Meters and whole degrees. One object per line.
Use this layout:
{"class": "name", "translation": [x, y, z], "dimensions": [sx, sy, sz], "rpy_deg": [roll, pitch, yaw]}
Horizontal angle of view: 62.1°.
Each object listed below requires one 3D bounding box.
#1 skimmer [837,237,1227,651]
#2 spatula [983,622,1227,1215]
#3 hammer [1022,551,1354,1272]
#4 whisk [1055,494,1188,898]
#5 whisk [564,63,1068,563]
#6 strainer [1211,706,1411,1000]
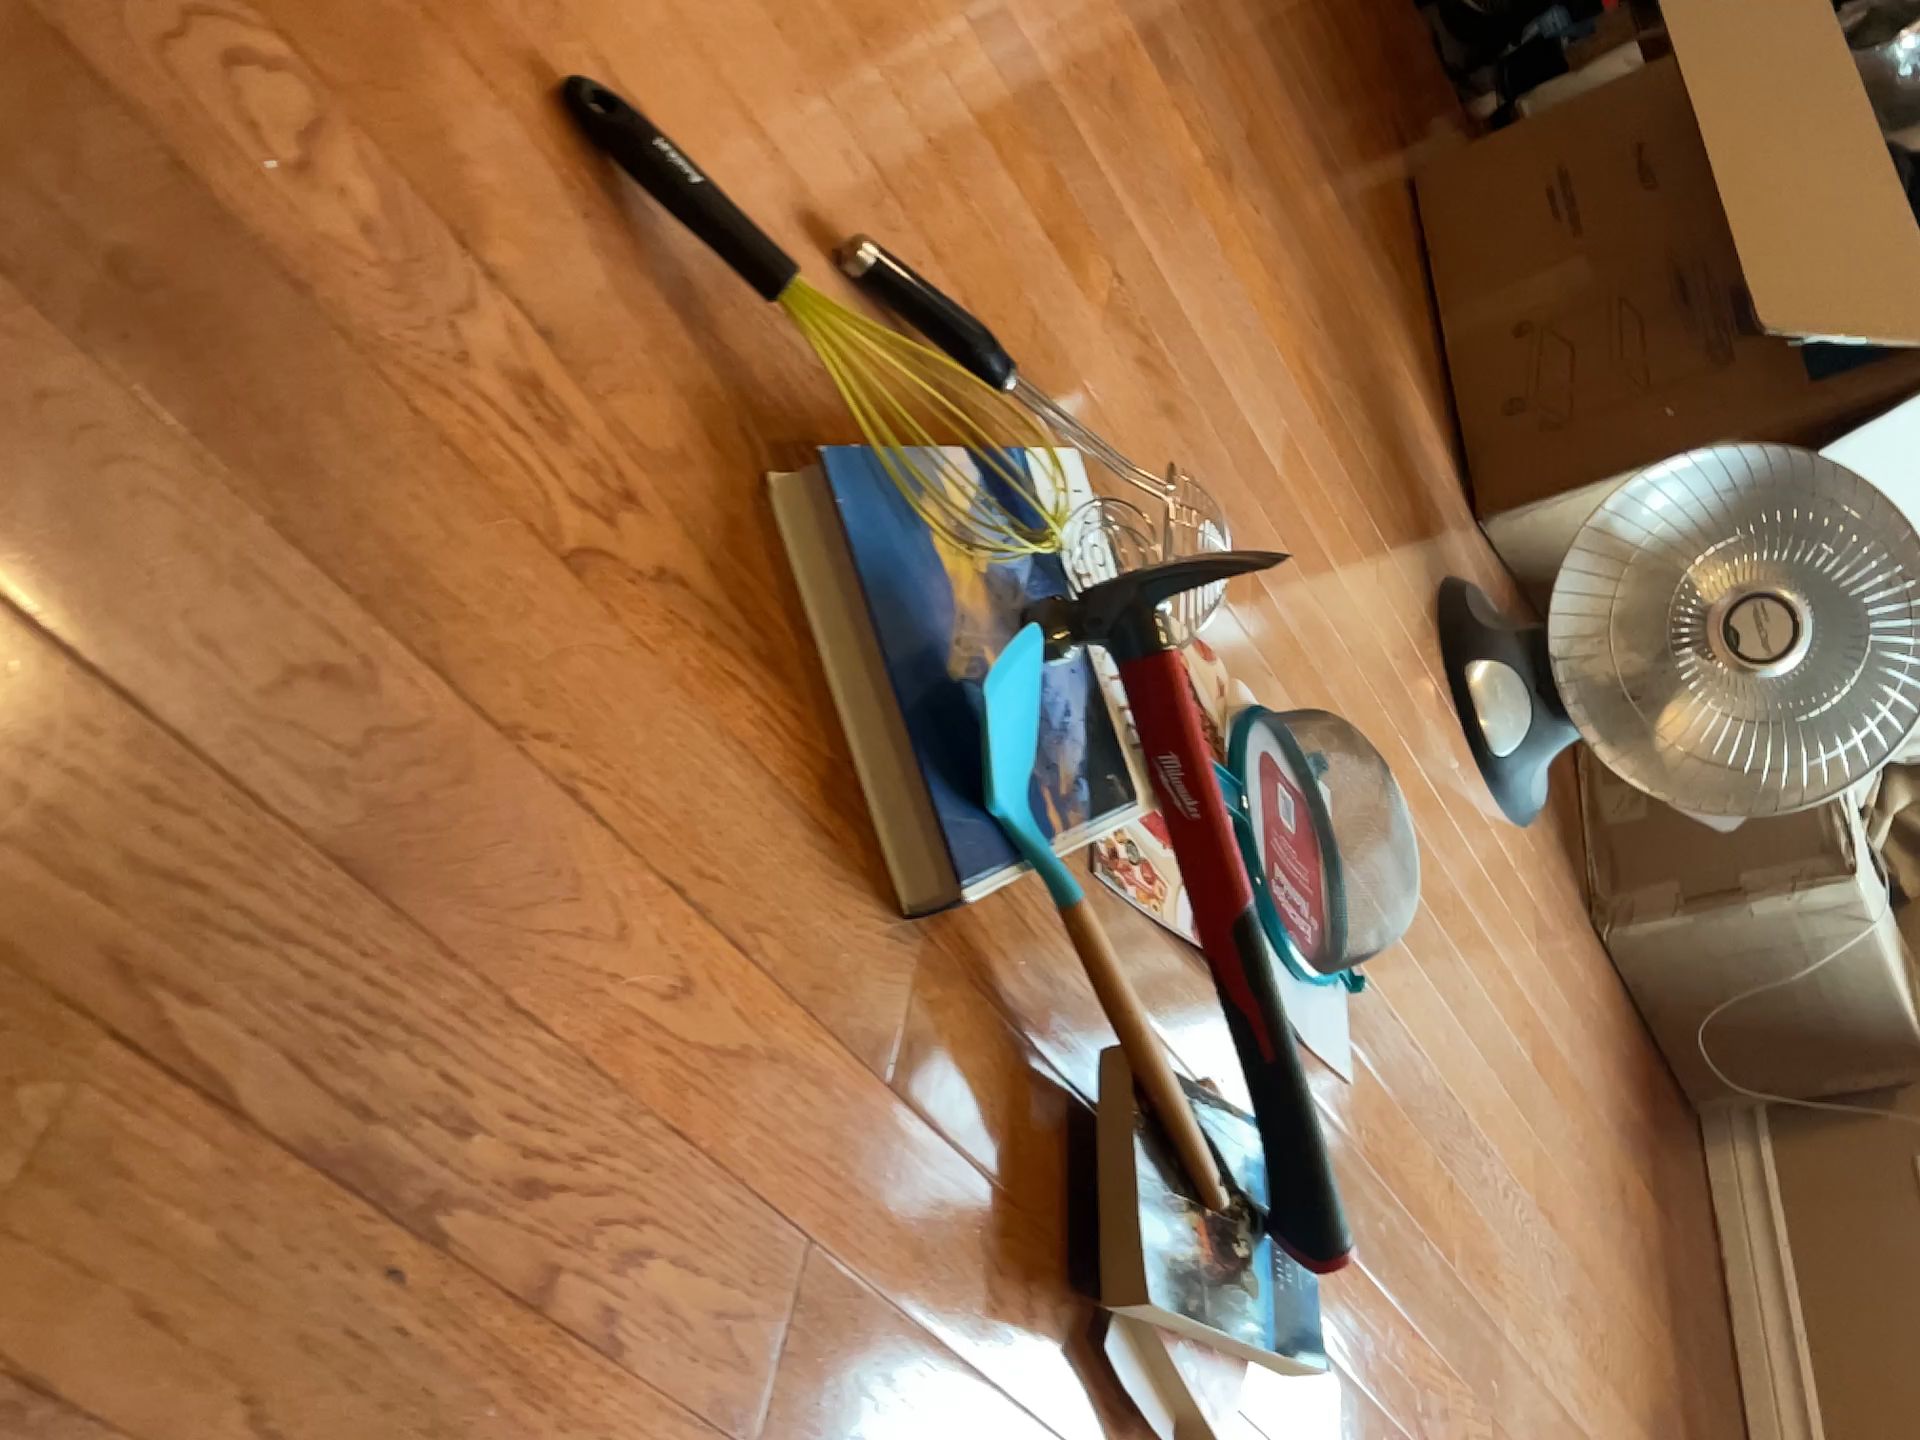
{"class": "skimmer", "translation": [0.047, -0.162, 0.973], "dimensions": [0.363, 0.090, 0.128], "rpy_deg": [32, 50, -34]}
{"class": "spatula", "translation": [0.074, 0.110, 0.778], "dimensions": [0.317, 0.044, 0.082], "rpy_deg": [64, 29, -13]}
{"class": "hammer", "translation": [0.153, 0.105, 0.836], "dimensions": [0.038, 0.143, 0.386], "rpy_deg": [-27, 100, -57]}
{"class": "whisk", "translation": [0.109, -0.010, 0.911], "dimensions": [0.059, 0.058, 0.246], "rpy_deg": [-119, -169, -81]}
{"class": "whisk", "translation": [-0.062, -0.183, 0.740], "dimensions": [0.311, 0.067, 0.080], "rpy_deg": [42, 54, -19]}
{"class": "strainer", "translation": [0.240, 0.062, 1.089], "dimensions": [0.340, 0.095, 0.211], "rpy_deg": [36, 45, -56]}
